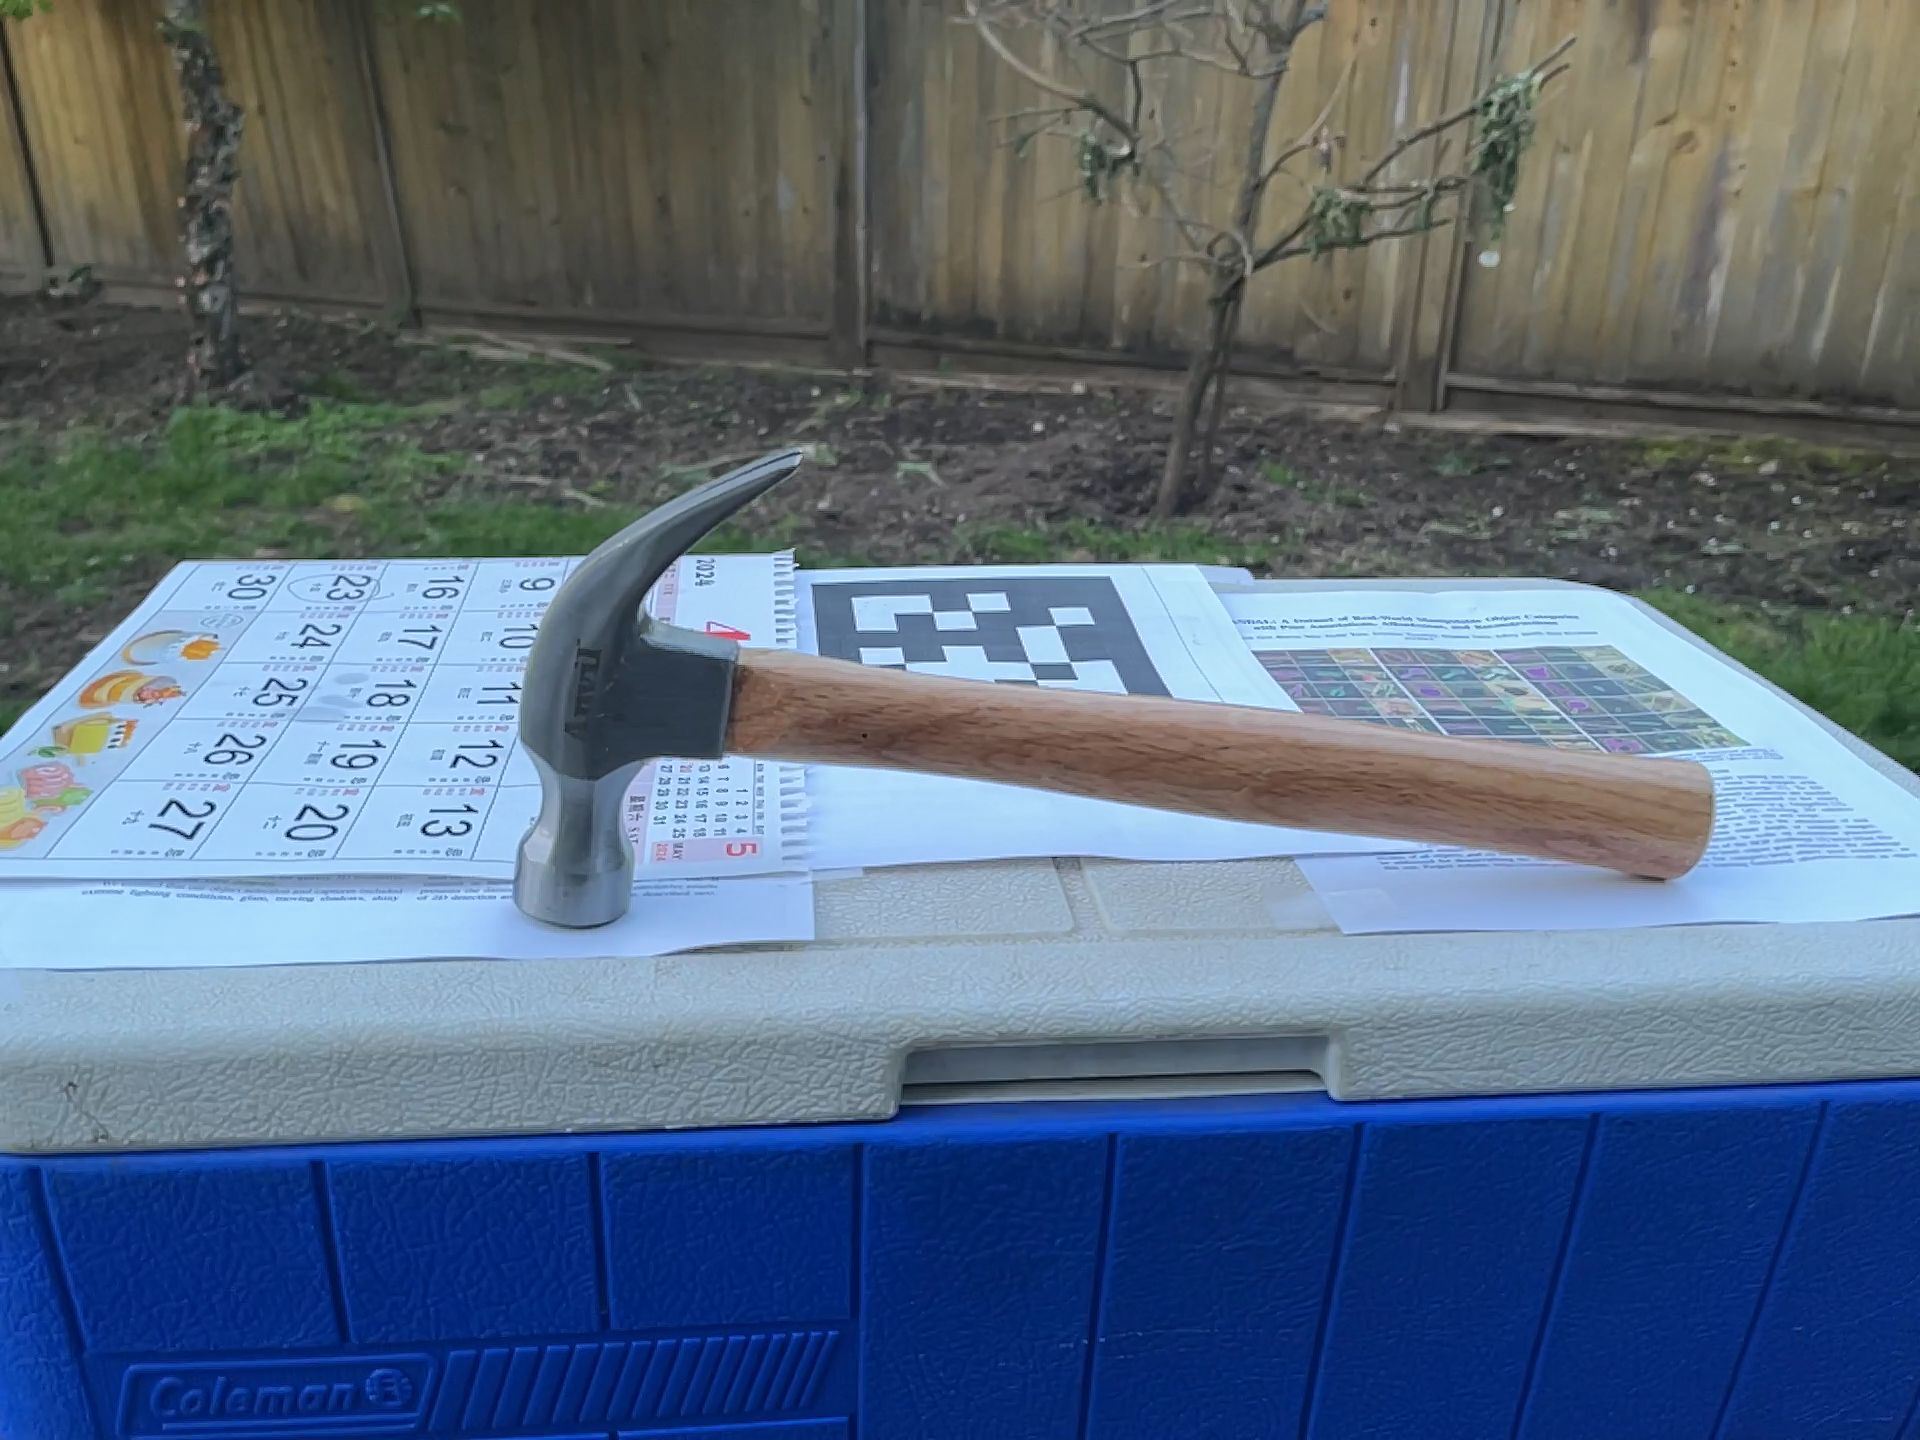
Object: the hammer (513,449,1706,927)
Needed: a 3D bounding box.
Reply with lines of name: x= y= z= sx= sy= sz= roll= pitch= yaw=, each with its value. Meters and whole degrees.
hammer: x=0.051 y=0.007 z=0.426 sx=0.331 sy=0.130 sz=0.031 roll=7 pitch=17 yaw=-10
